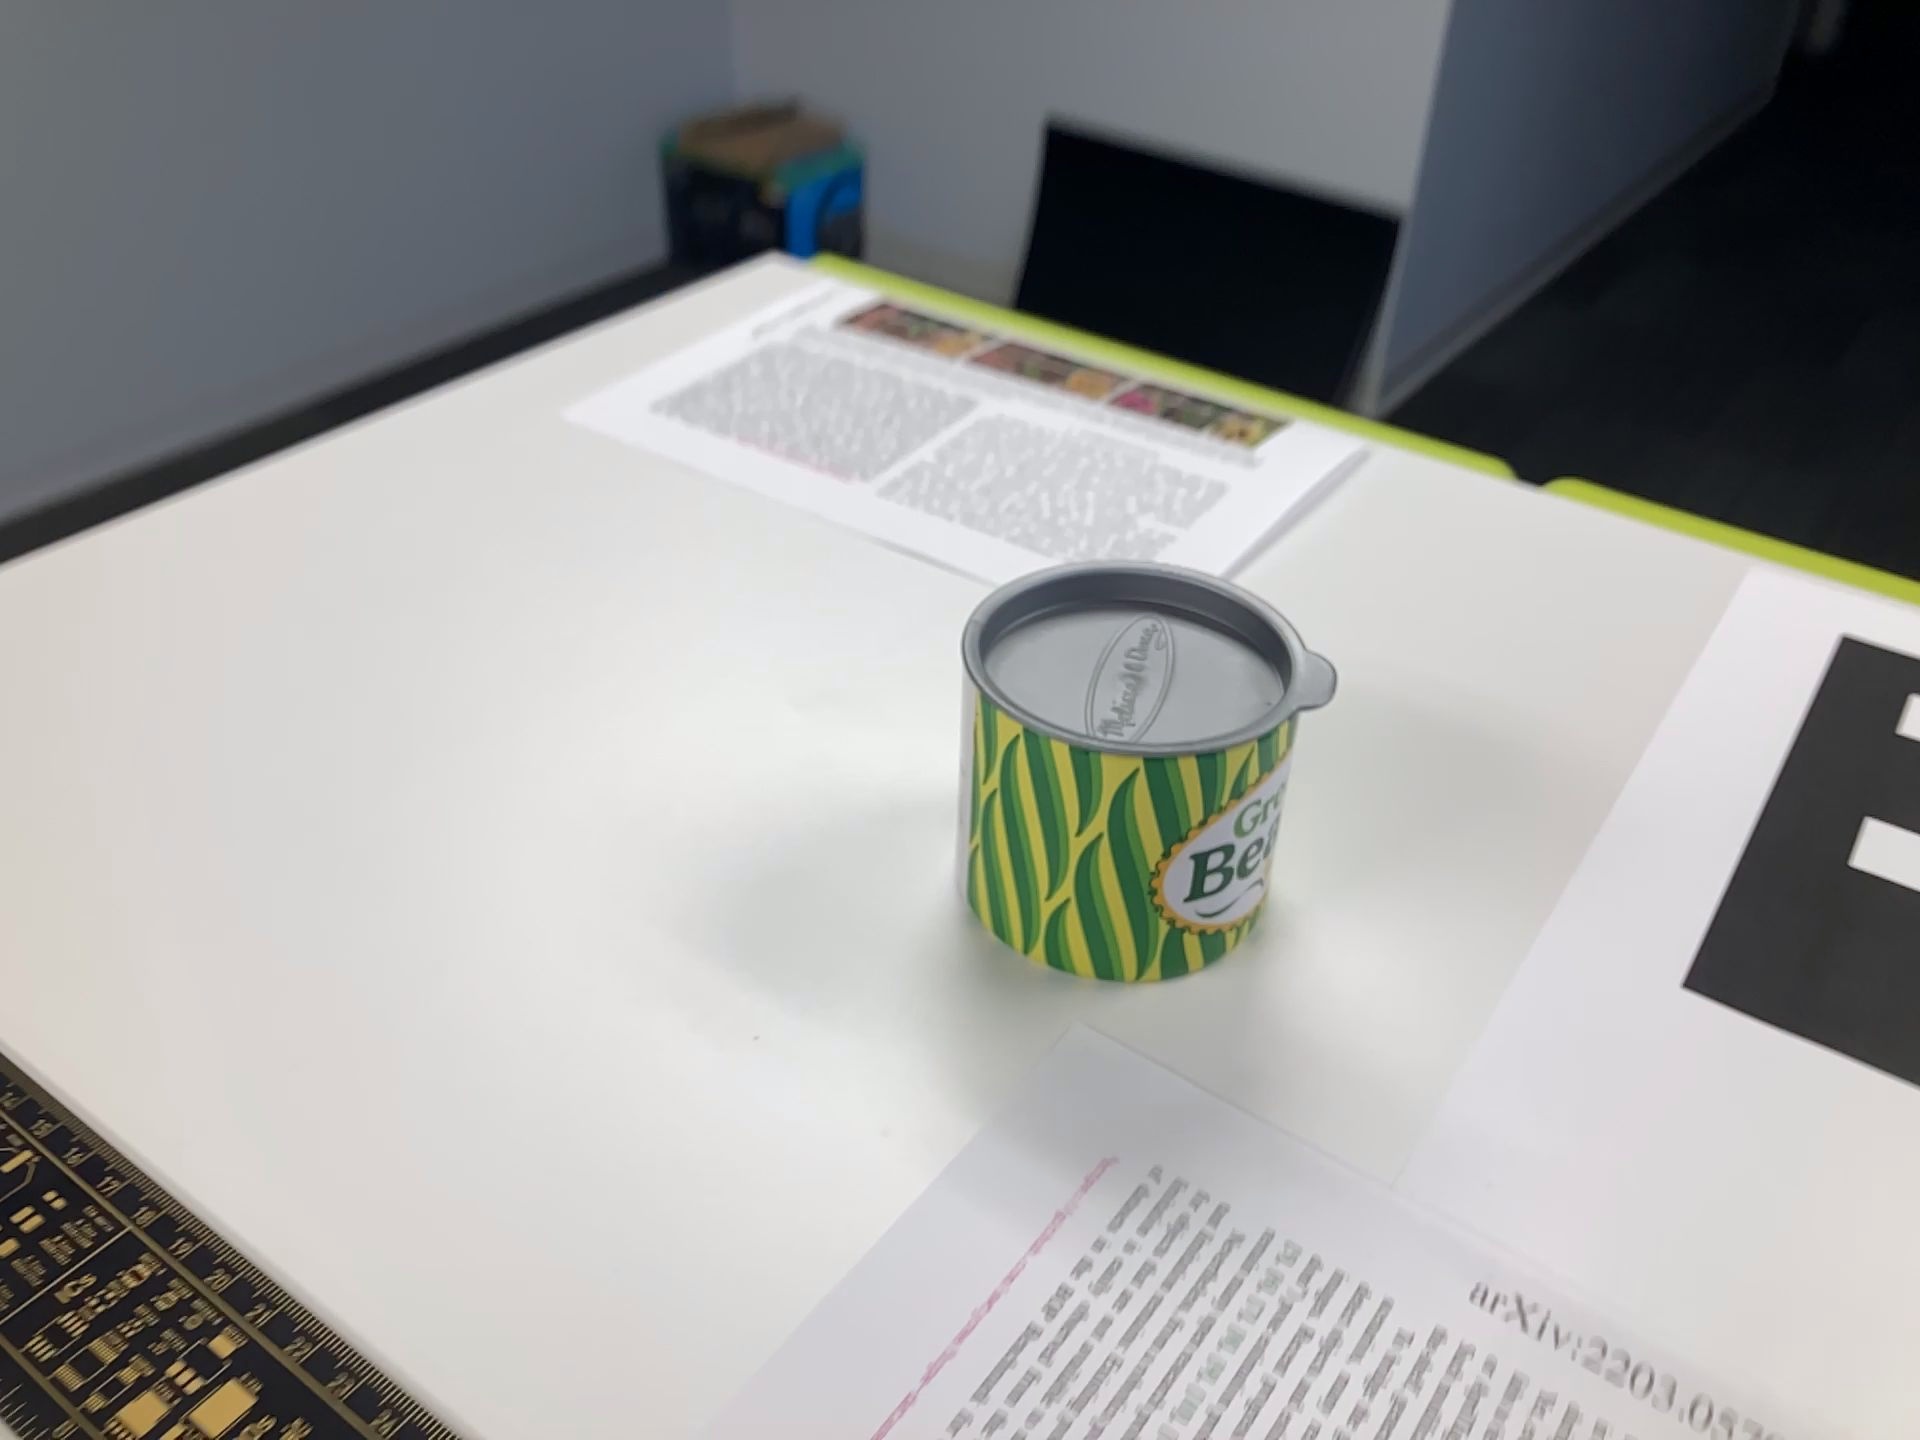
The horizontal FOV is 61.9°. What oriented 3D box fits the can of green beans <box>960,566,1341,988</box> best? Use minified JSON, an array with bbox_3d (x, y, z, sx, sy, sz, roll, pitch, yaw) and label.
[{"bbox_3d":[0.033,0.011,0.321,0.071,0.058,0.071,1,36,-1],"label":"can of green beans"}]
